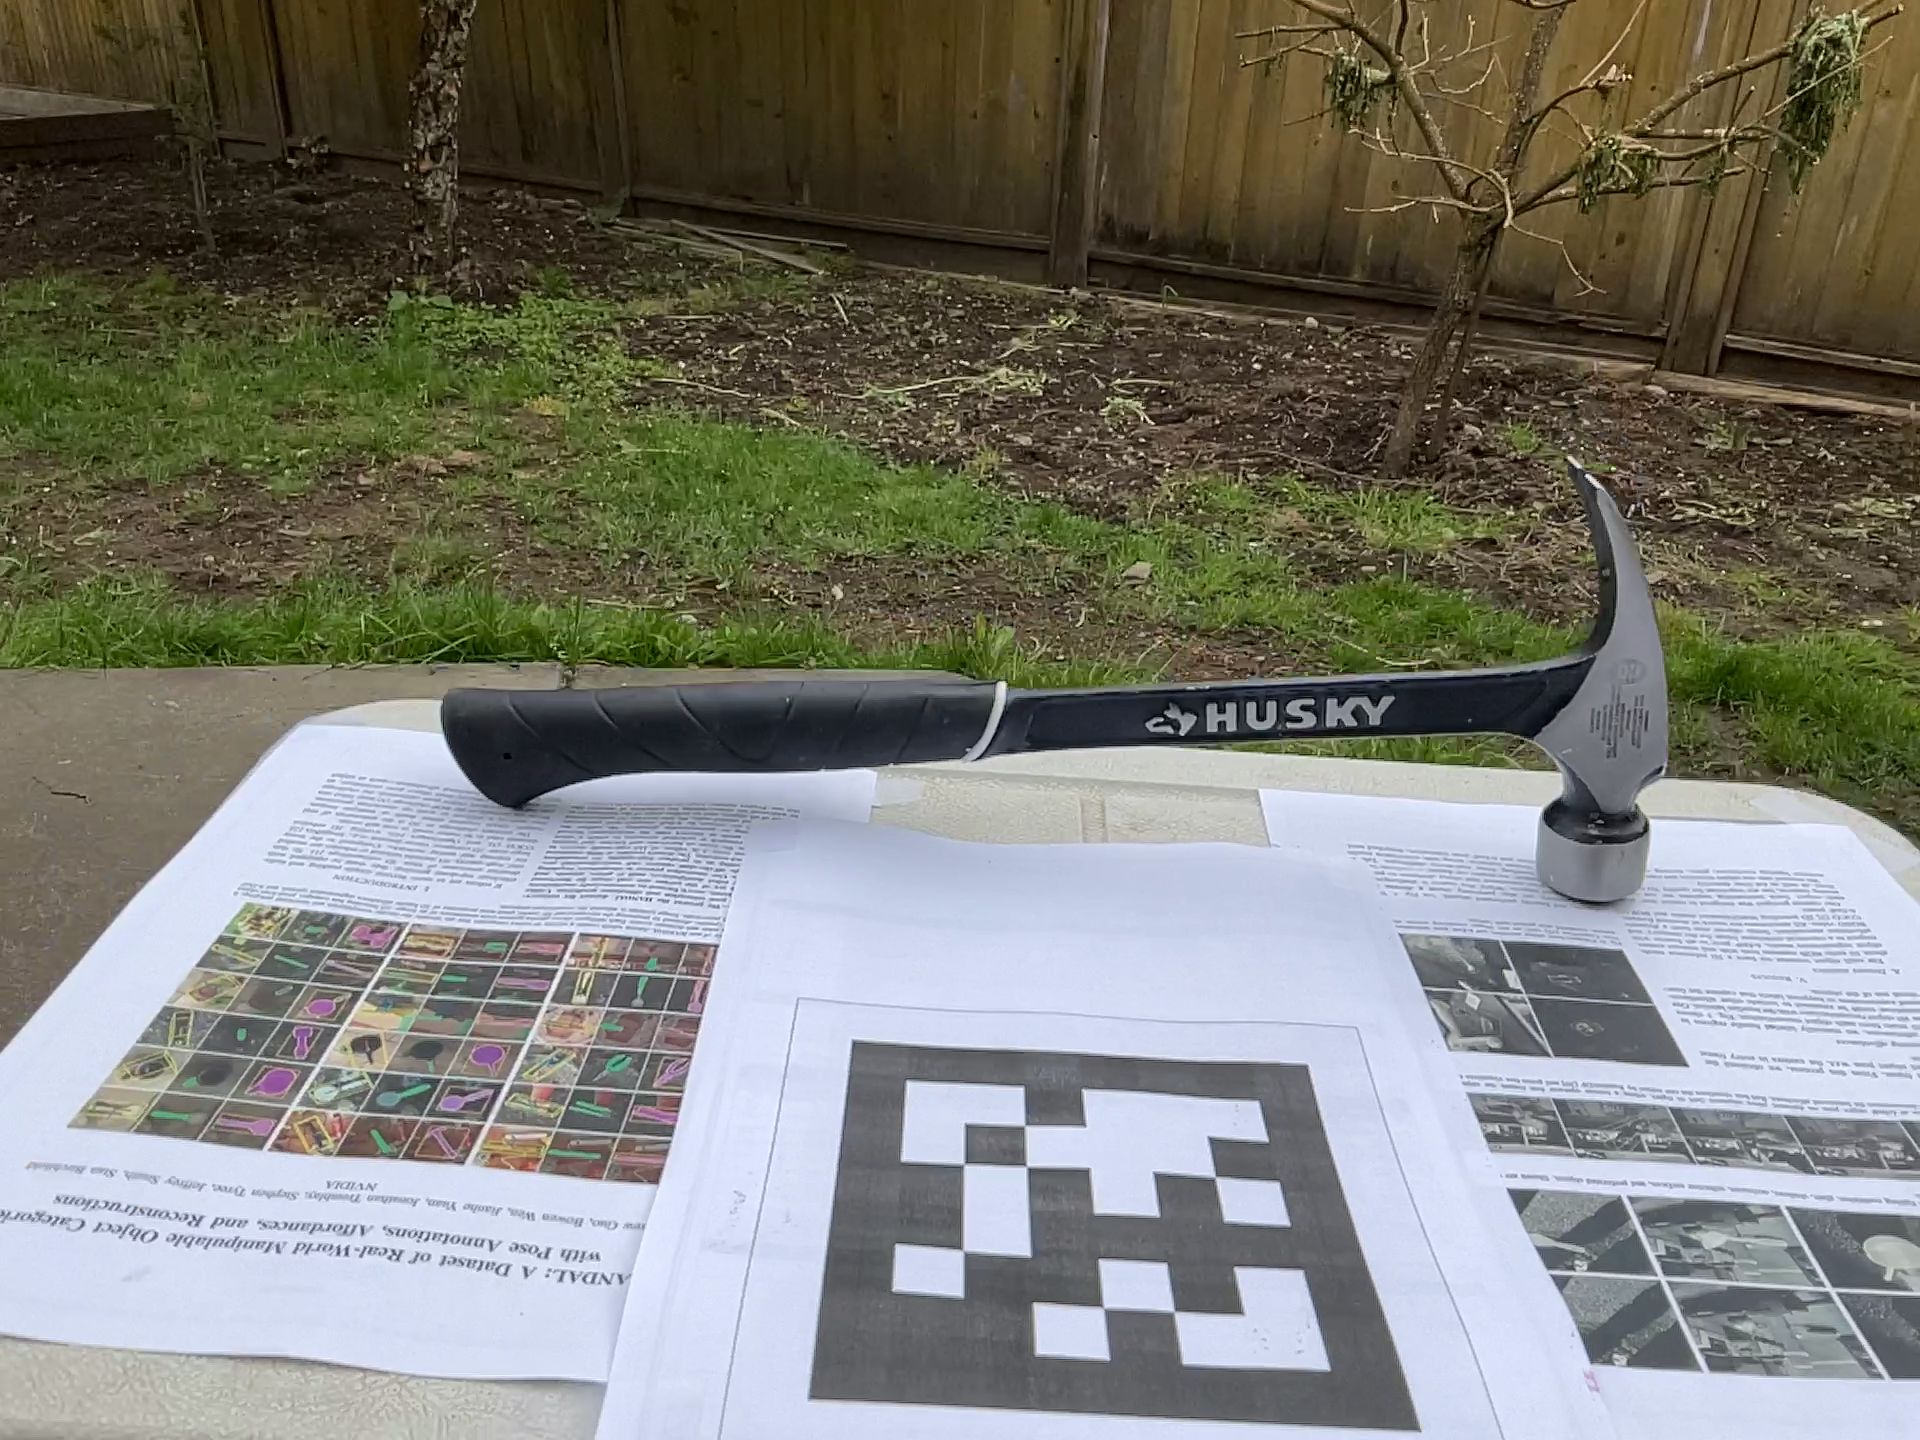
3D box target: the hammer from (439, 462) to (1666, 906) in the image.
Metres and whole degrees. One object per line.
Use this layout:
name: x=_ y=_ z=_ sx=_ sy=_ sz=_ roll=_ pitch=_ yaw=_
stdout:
hammer: x=0.027 y=-0.003 z=0.536 sx=0.408 sy=0.149 sz=0.036 roll=-2 pitch=26 yaw=4
